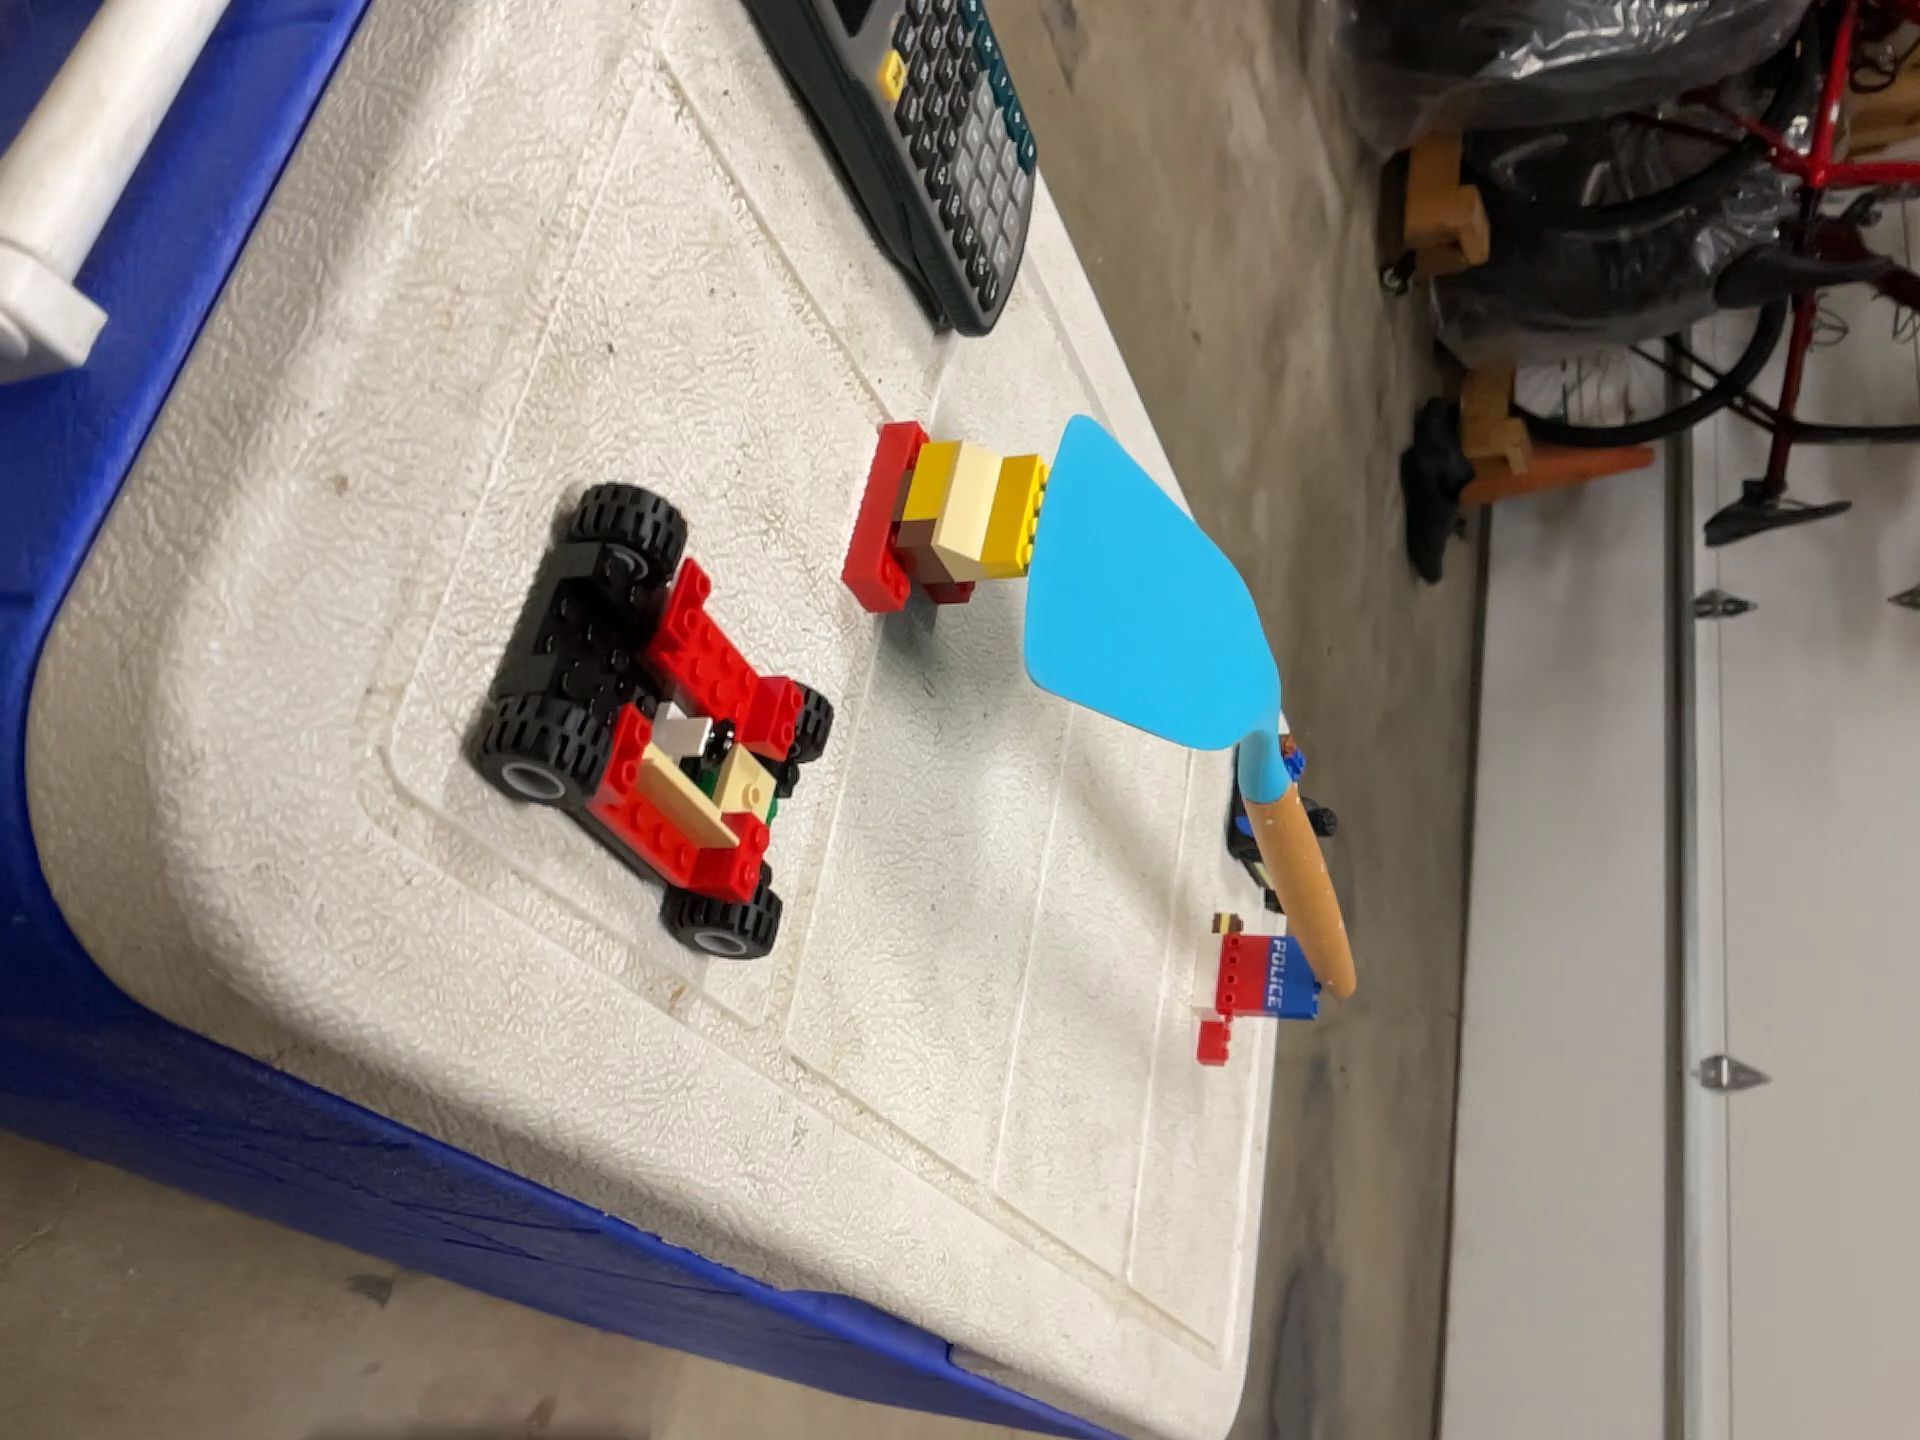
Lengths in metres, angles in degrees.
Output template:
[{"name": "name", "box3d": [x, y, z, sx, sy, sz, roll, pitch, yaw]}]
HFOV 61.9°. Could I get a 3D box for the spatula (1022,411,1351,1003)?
[{"name": "spatula", "box3d": [0.089, 0.030, 0.508, 0.317, 0.044, 0.082, 57, 38, -55]}]
